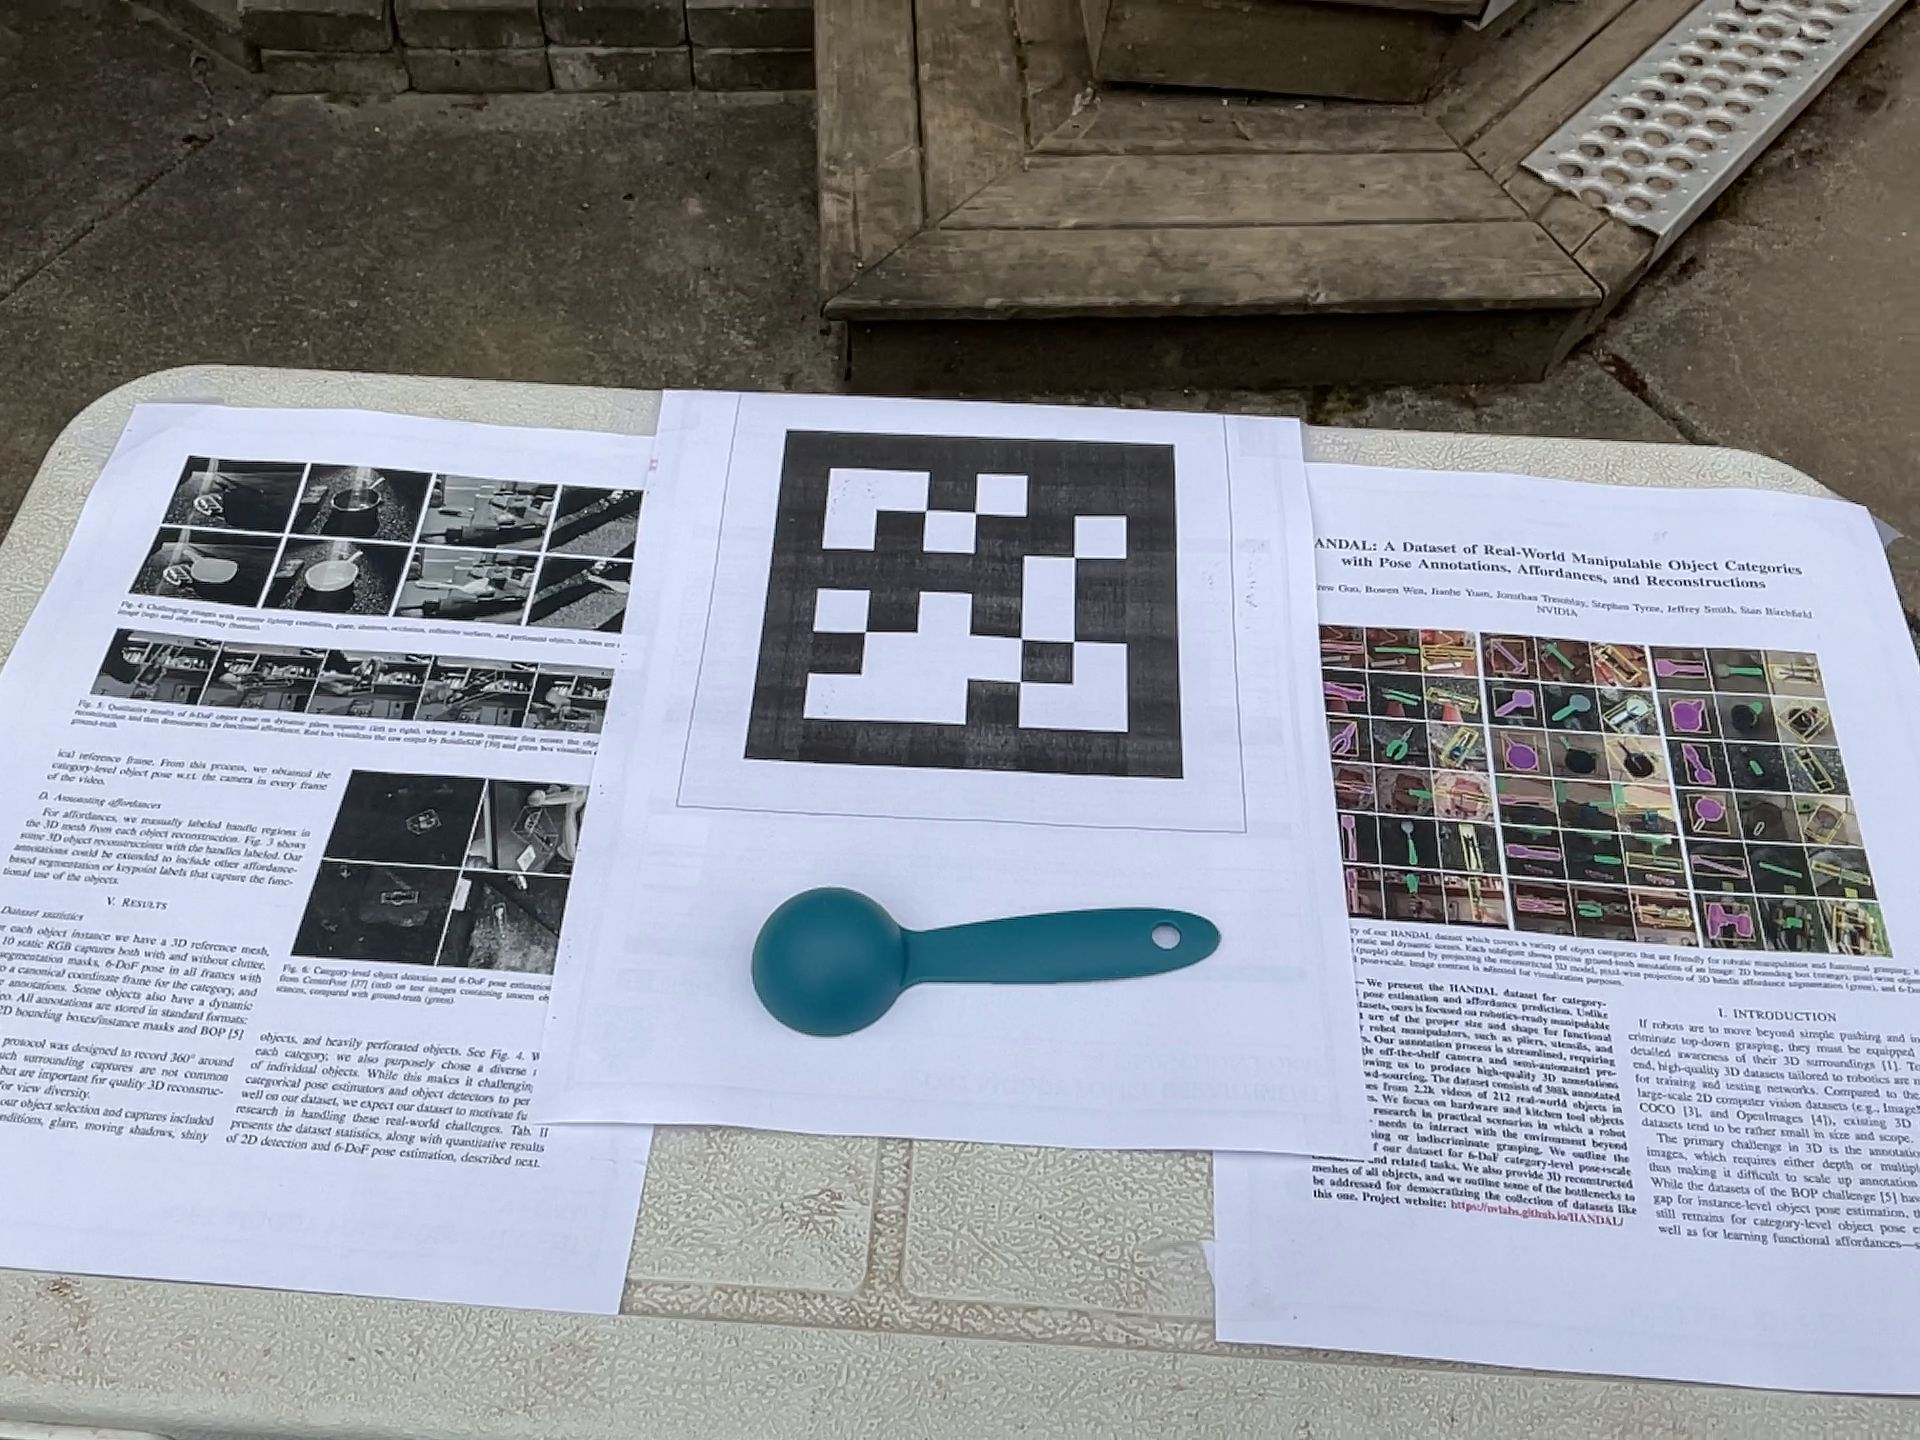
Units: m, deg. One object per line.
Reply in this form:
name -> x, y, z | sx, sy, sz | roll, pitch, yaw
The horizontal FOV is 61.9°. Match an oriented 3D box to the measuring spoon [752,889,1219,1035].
measuring spoon -> 0.007, 0.058, 0.433 | 0.128, 0.021, 0.042 | -4, 52, -4
